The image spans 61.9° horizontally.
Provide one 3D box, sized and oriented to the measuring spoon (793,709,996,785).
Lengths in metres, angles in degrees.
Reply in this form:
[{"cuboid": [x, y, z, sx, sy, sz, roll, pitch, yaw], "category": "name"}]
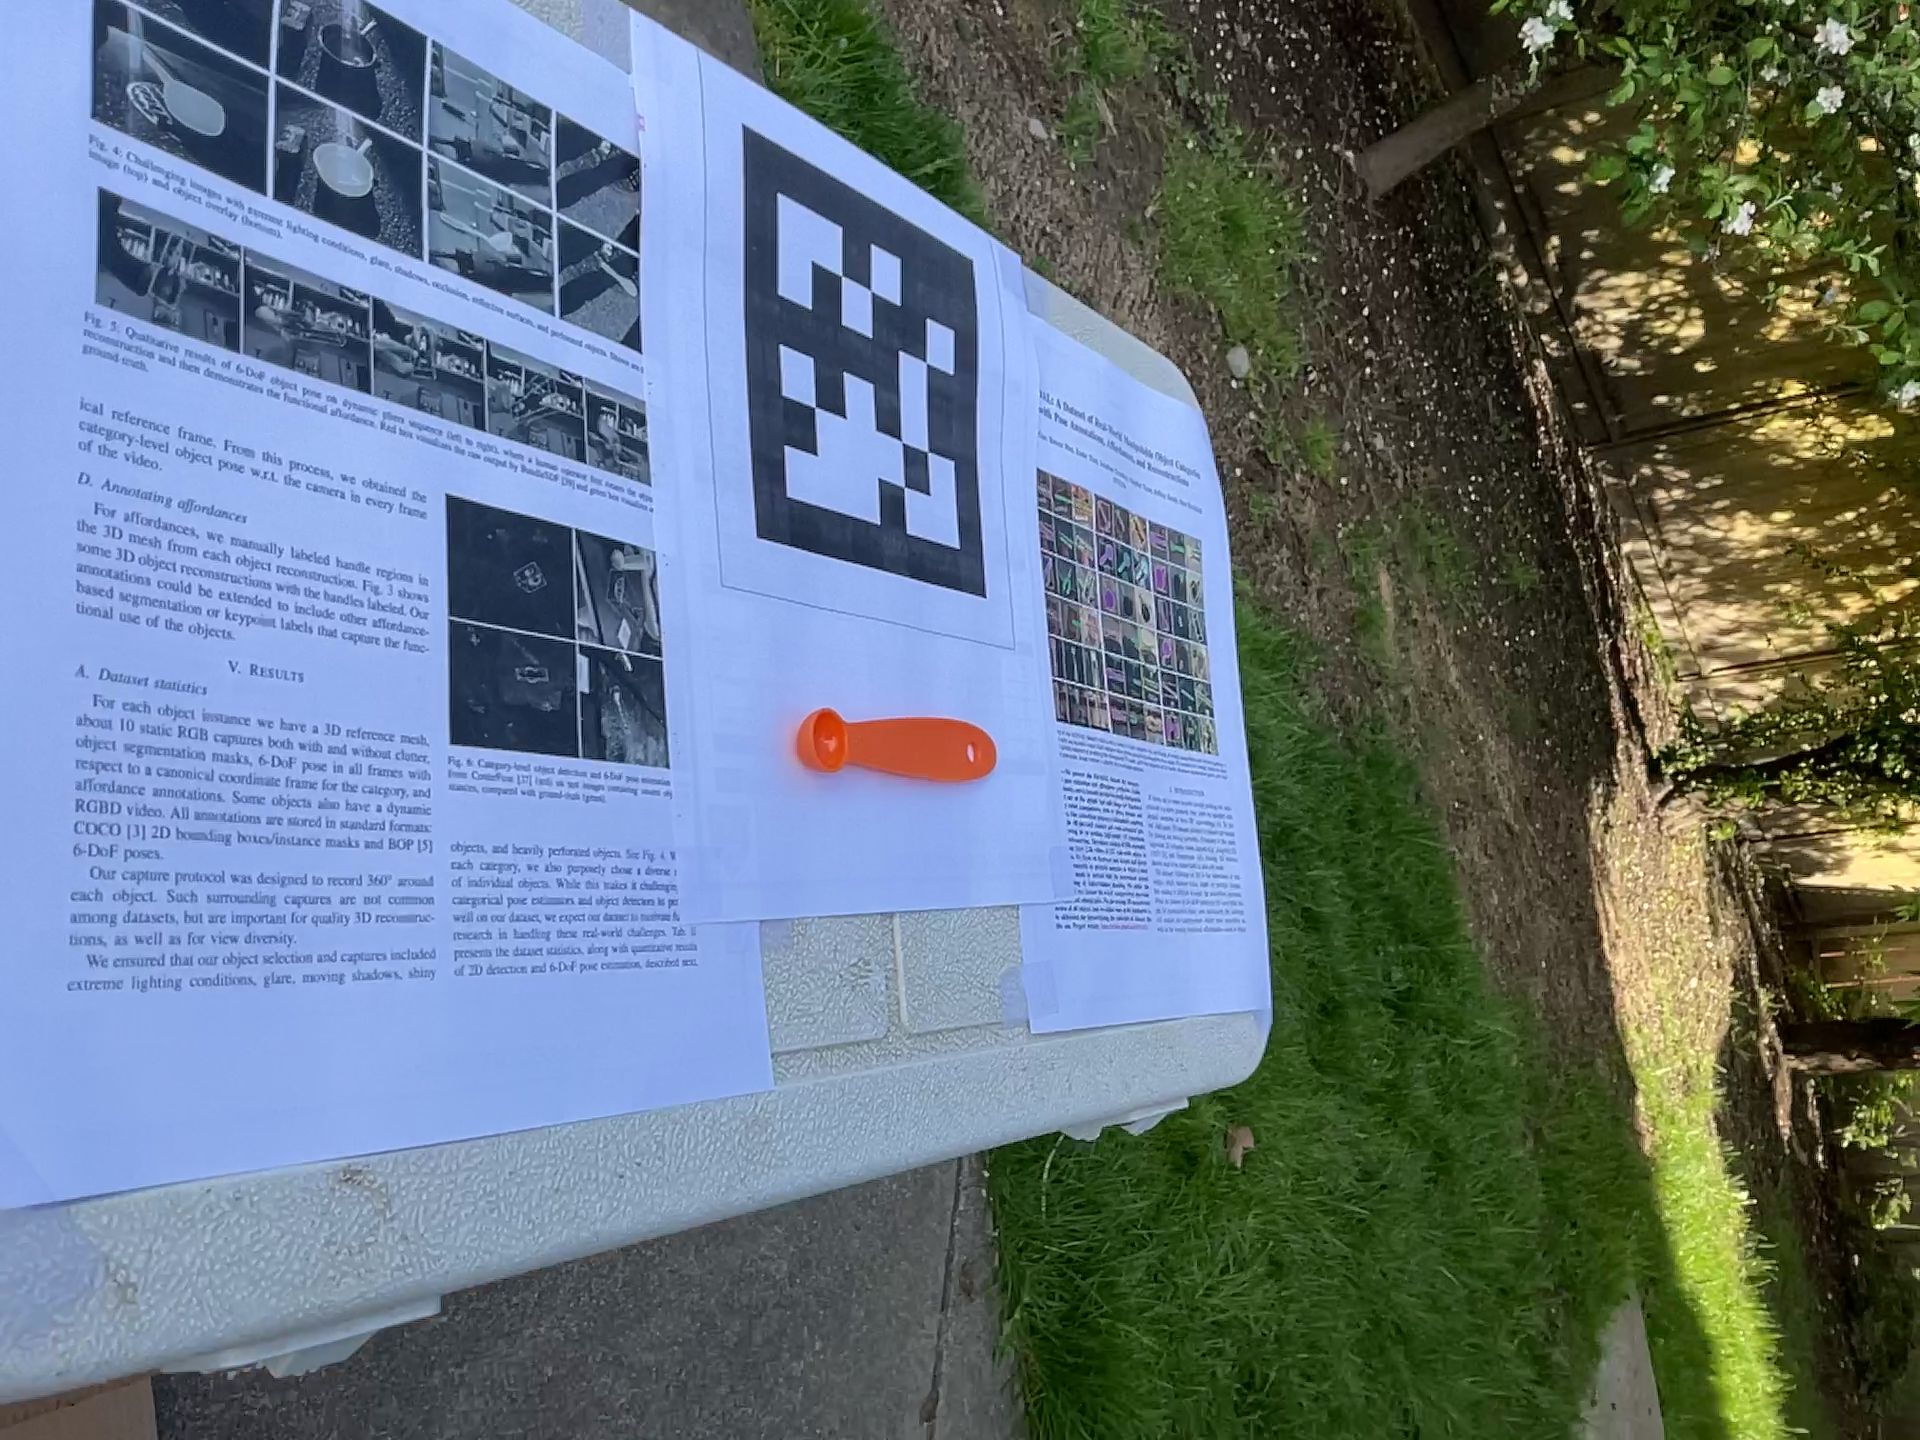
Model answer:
[{"cuboid": [-0.019, 0.010, 0.510, 0.117, 0.011, 0.021, 7, 76, -61], "category": "measuring spoon"}]
